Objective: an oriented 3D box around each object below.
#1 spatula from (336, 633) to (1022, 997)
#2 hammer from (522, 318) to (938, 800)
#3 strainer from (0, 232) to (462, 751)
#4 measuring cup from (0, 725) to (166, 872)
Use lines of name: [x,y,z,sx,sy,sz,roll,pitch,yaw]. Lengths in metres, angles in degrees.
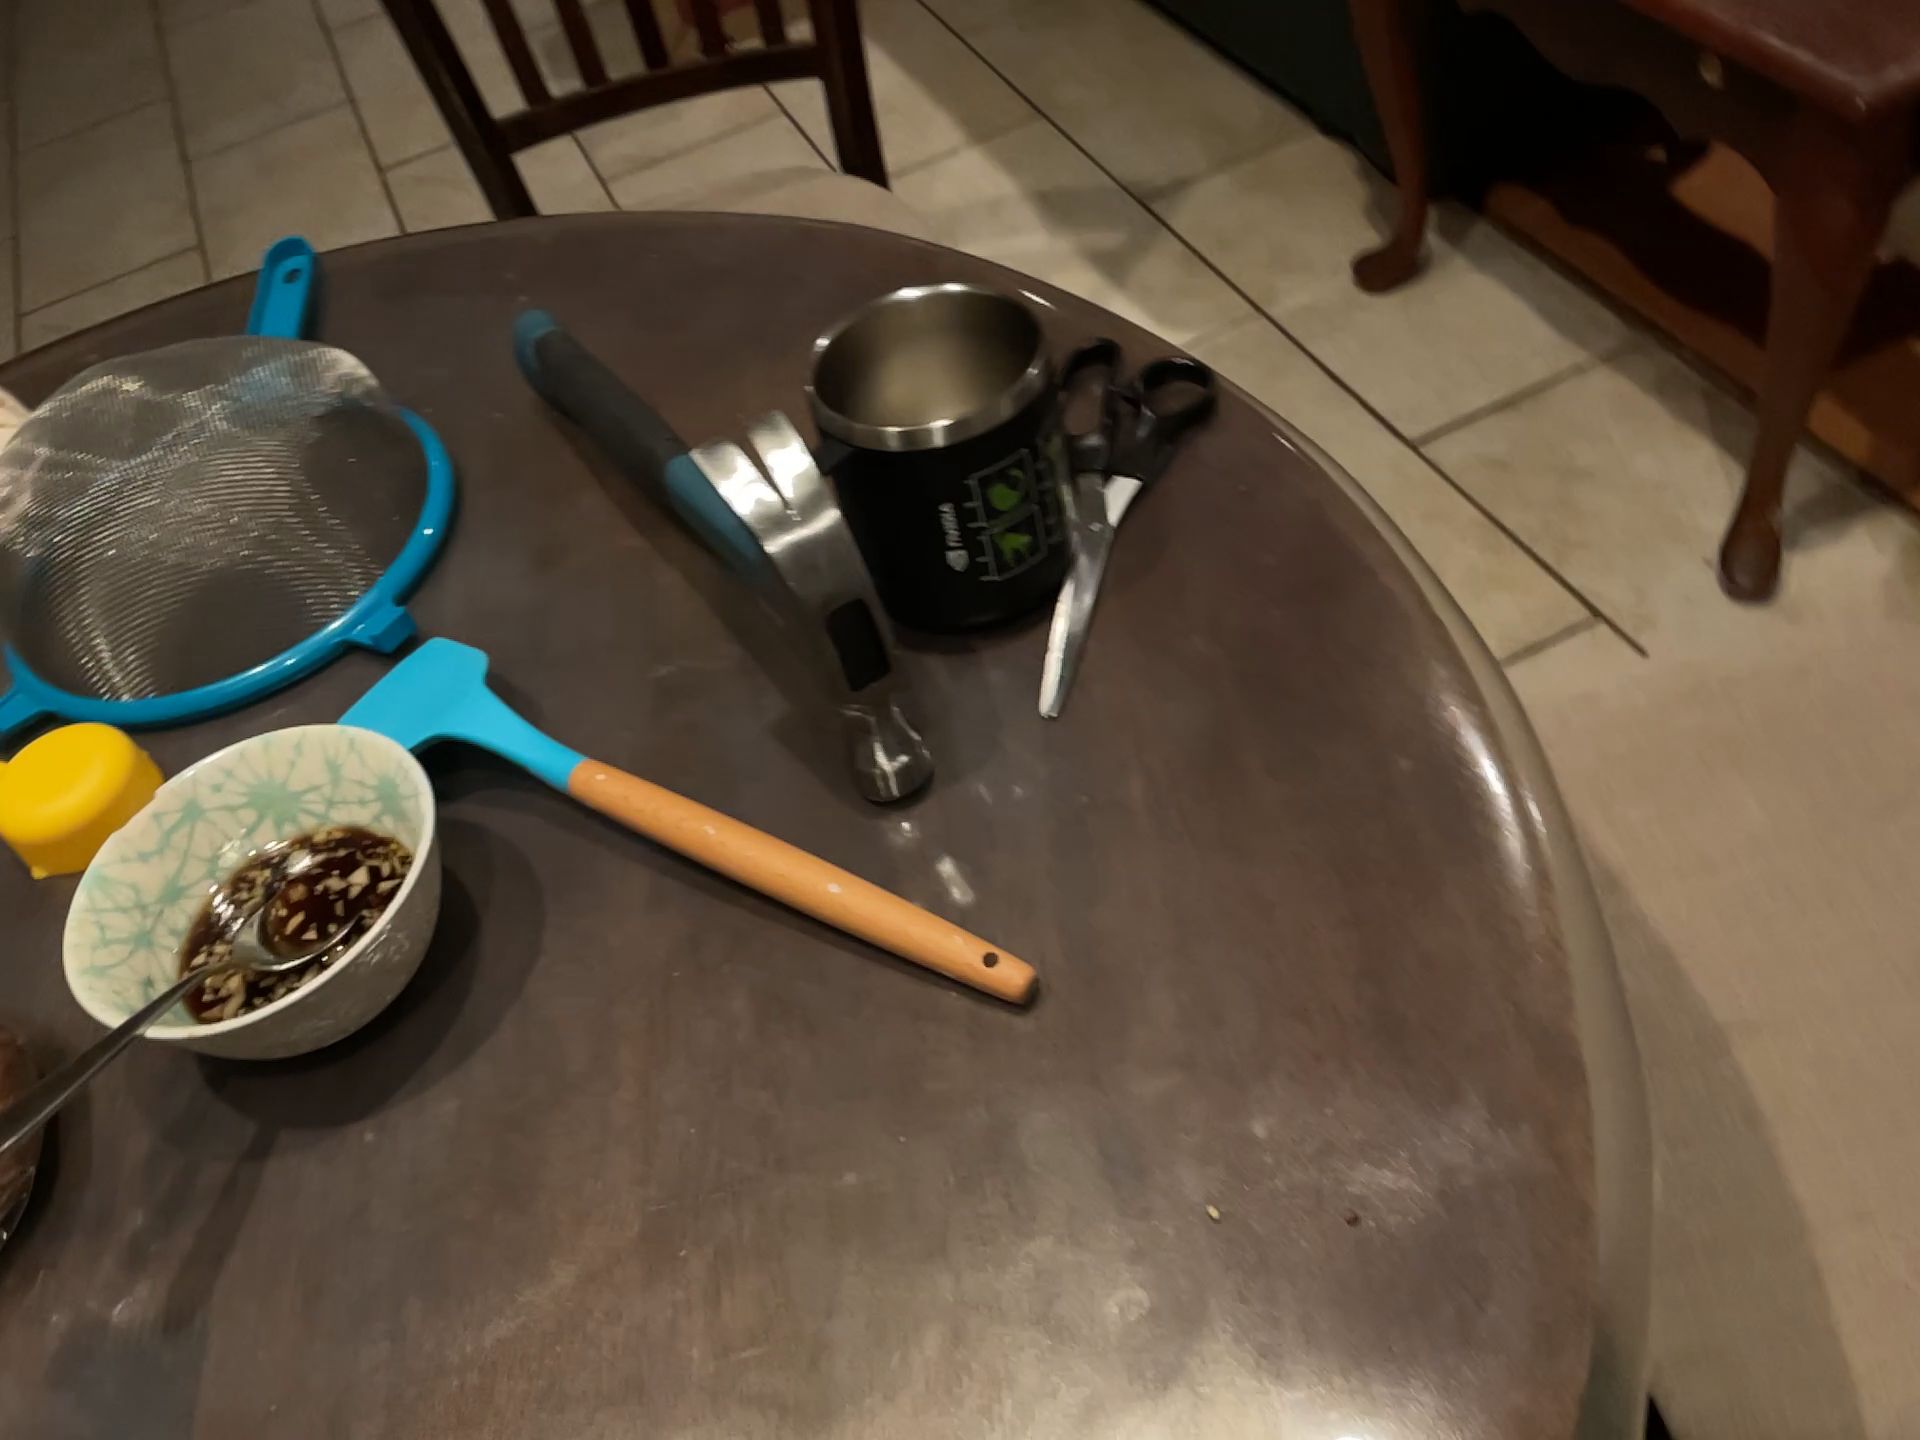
spatula: [-0.115,0.033,0.575,0.317,0.044,0.082,22,57,24]
hammer: [-0.111,-0.097,0.644,0.033,0.128,0.331,-30,40,-16]
strainer: [-0.346,-0.151,0.742,0.211,0.095,0.341,-12,52,2]
measuring cup: [-0.391,0.018,0.646,0.156,0.029,0.062,12,53,21]
